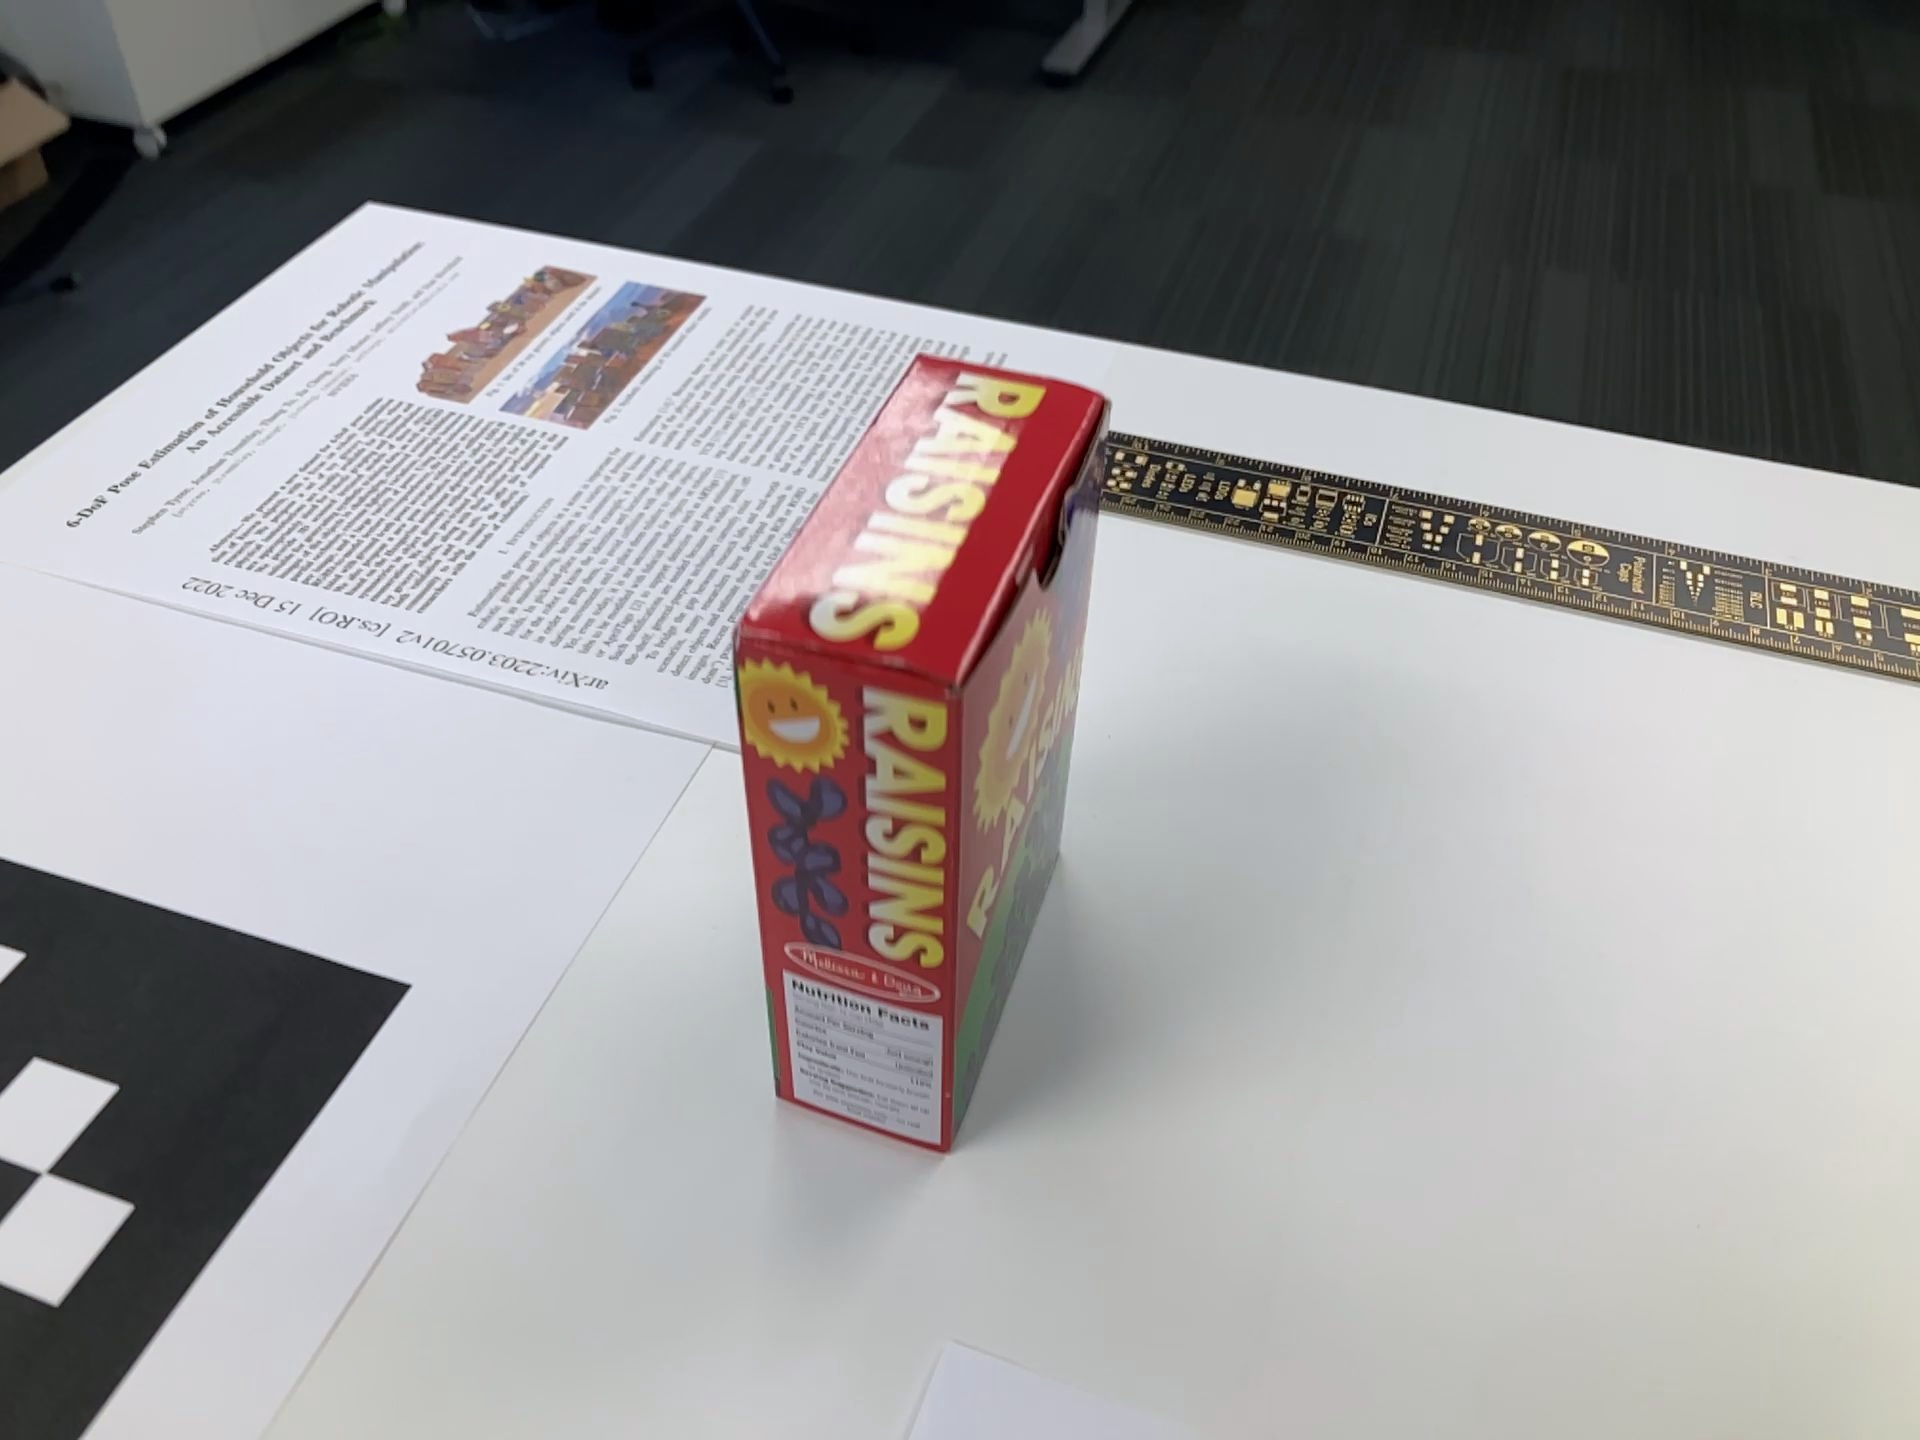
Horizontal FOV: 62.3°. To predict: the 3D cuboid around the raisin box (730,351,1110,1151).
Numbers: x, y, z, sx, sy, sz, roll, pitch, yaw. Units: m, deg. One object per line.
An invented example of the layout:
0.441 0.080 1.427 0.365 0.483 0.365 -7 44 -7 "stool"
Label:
-0.005 0.008 0.295 0.040 0.123 0.086 14 45 13 "raisin box"
